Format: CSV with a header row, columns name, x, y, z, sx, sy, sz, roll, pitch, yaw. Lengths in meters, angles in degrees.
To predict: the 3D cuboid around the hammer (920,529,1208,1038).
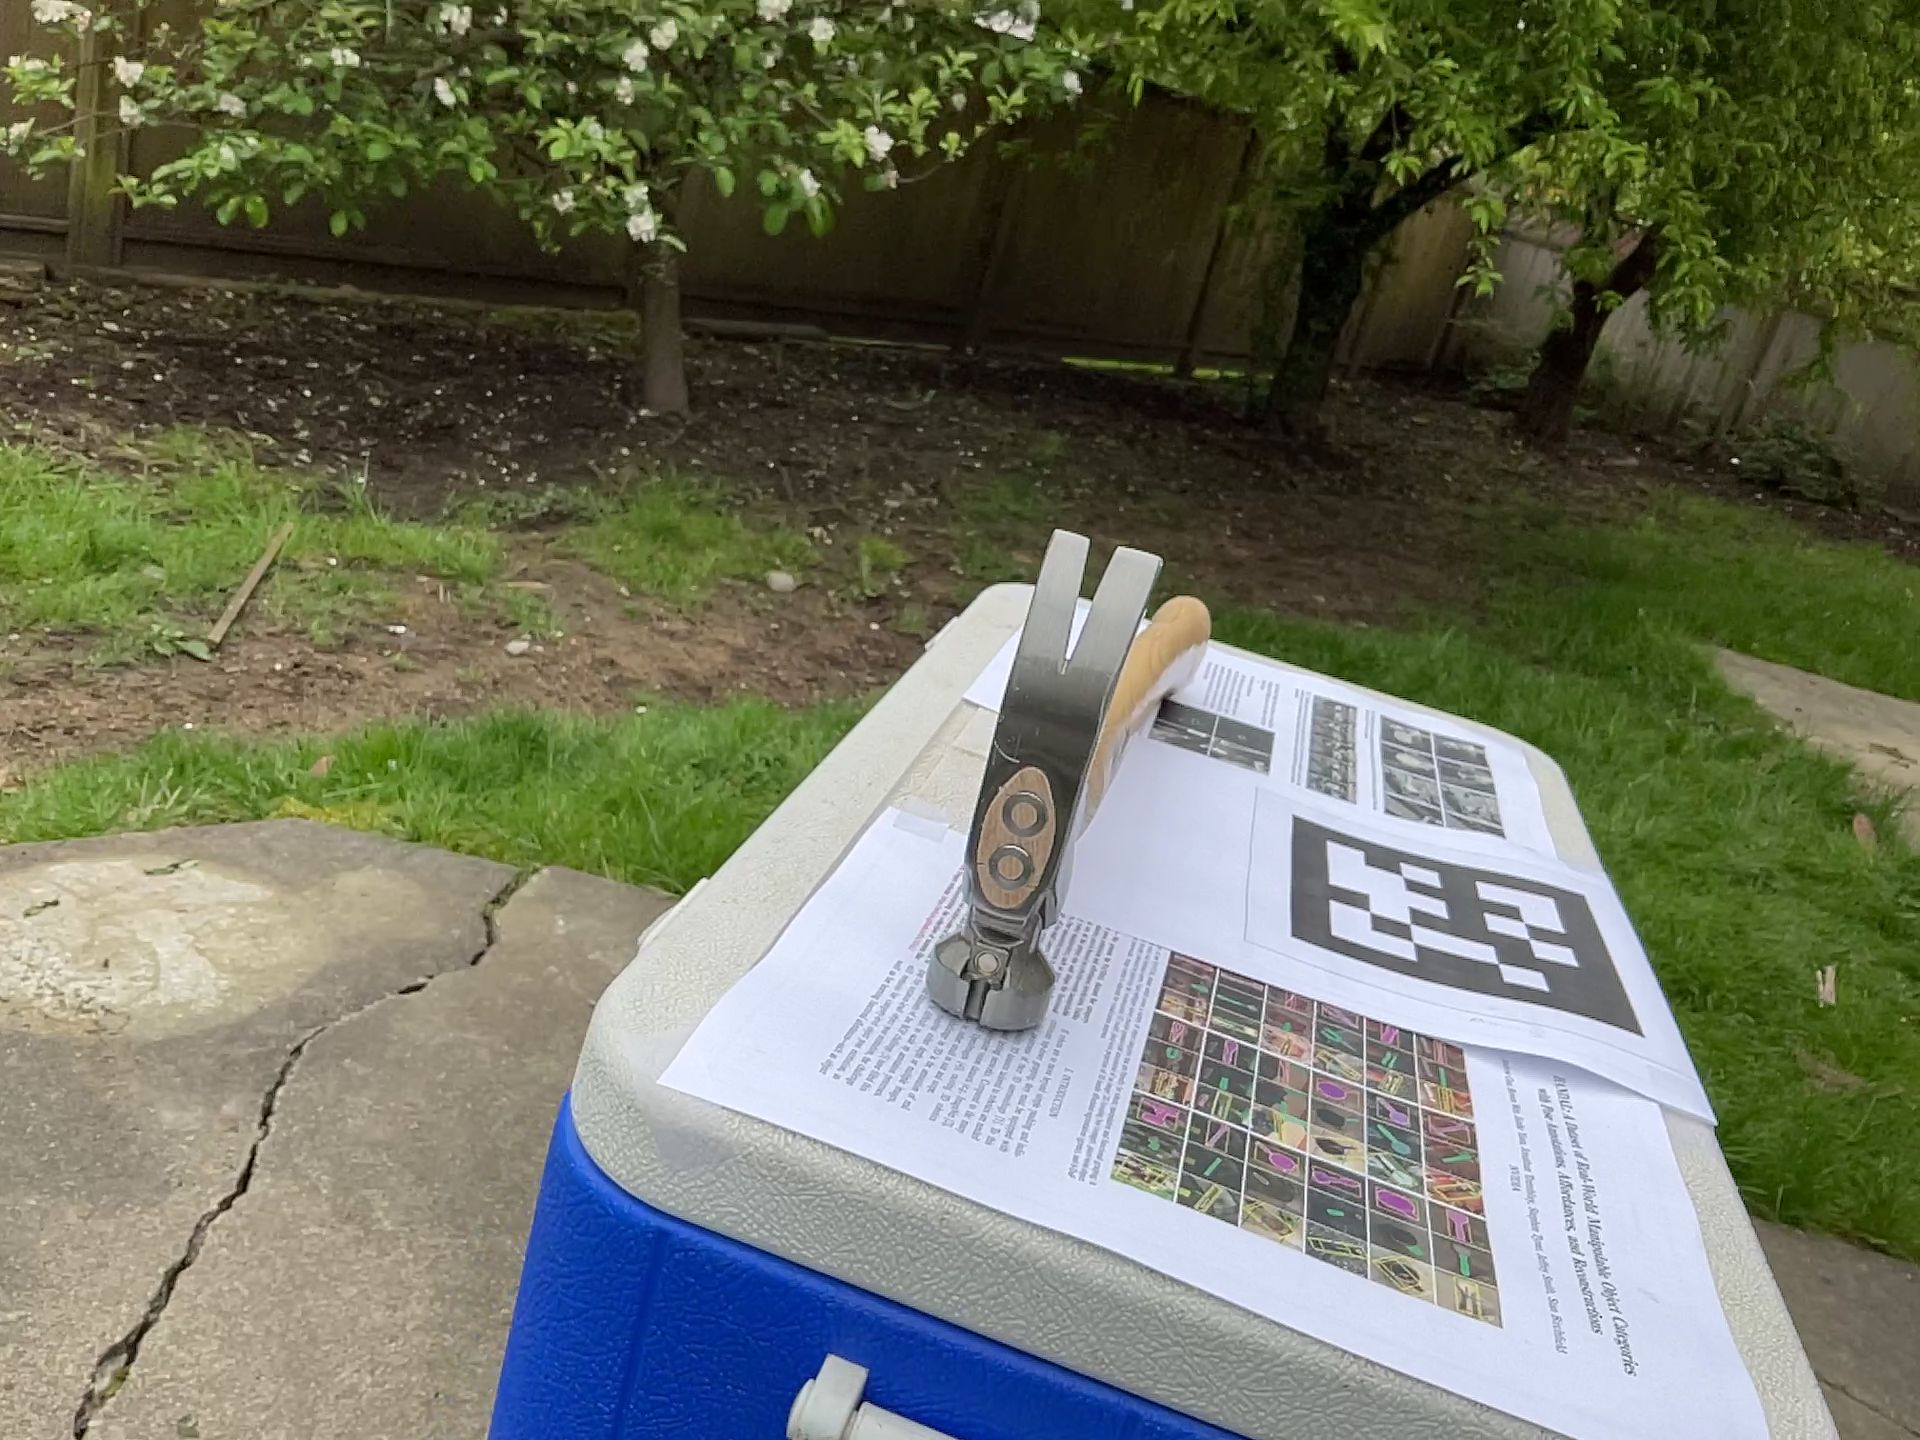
name,x,y,z,sx,sy,sz,roll,pitch,yaw
hammer,0.068,-0.017,0.636,0.038,0.146,0.410,18,15,10
